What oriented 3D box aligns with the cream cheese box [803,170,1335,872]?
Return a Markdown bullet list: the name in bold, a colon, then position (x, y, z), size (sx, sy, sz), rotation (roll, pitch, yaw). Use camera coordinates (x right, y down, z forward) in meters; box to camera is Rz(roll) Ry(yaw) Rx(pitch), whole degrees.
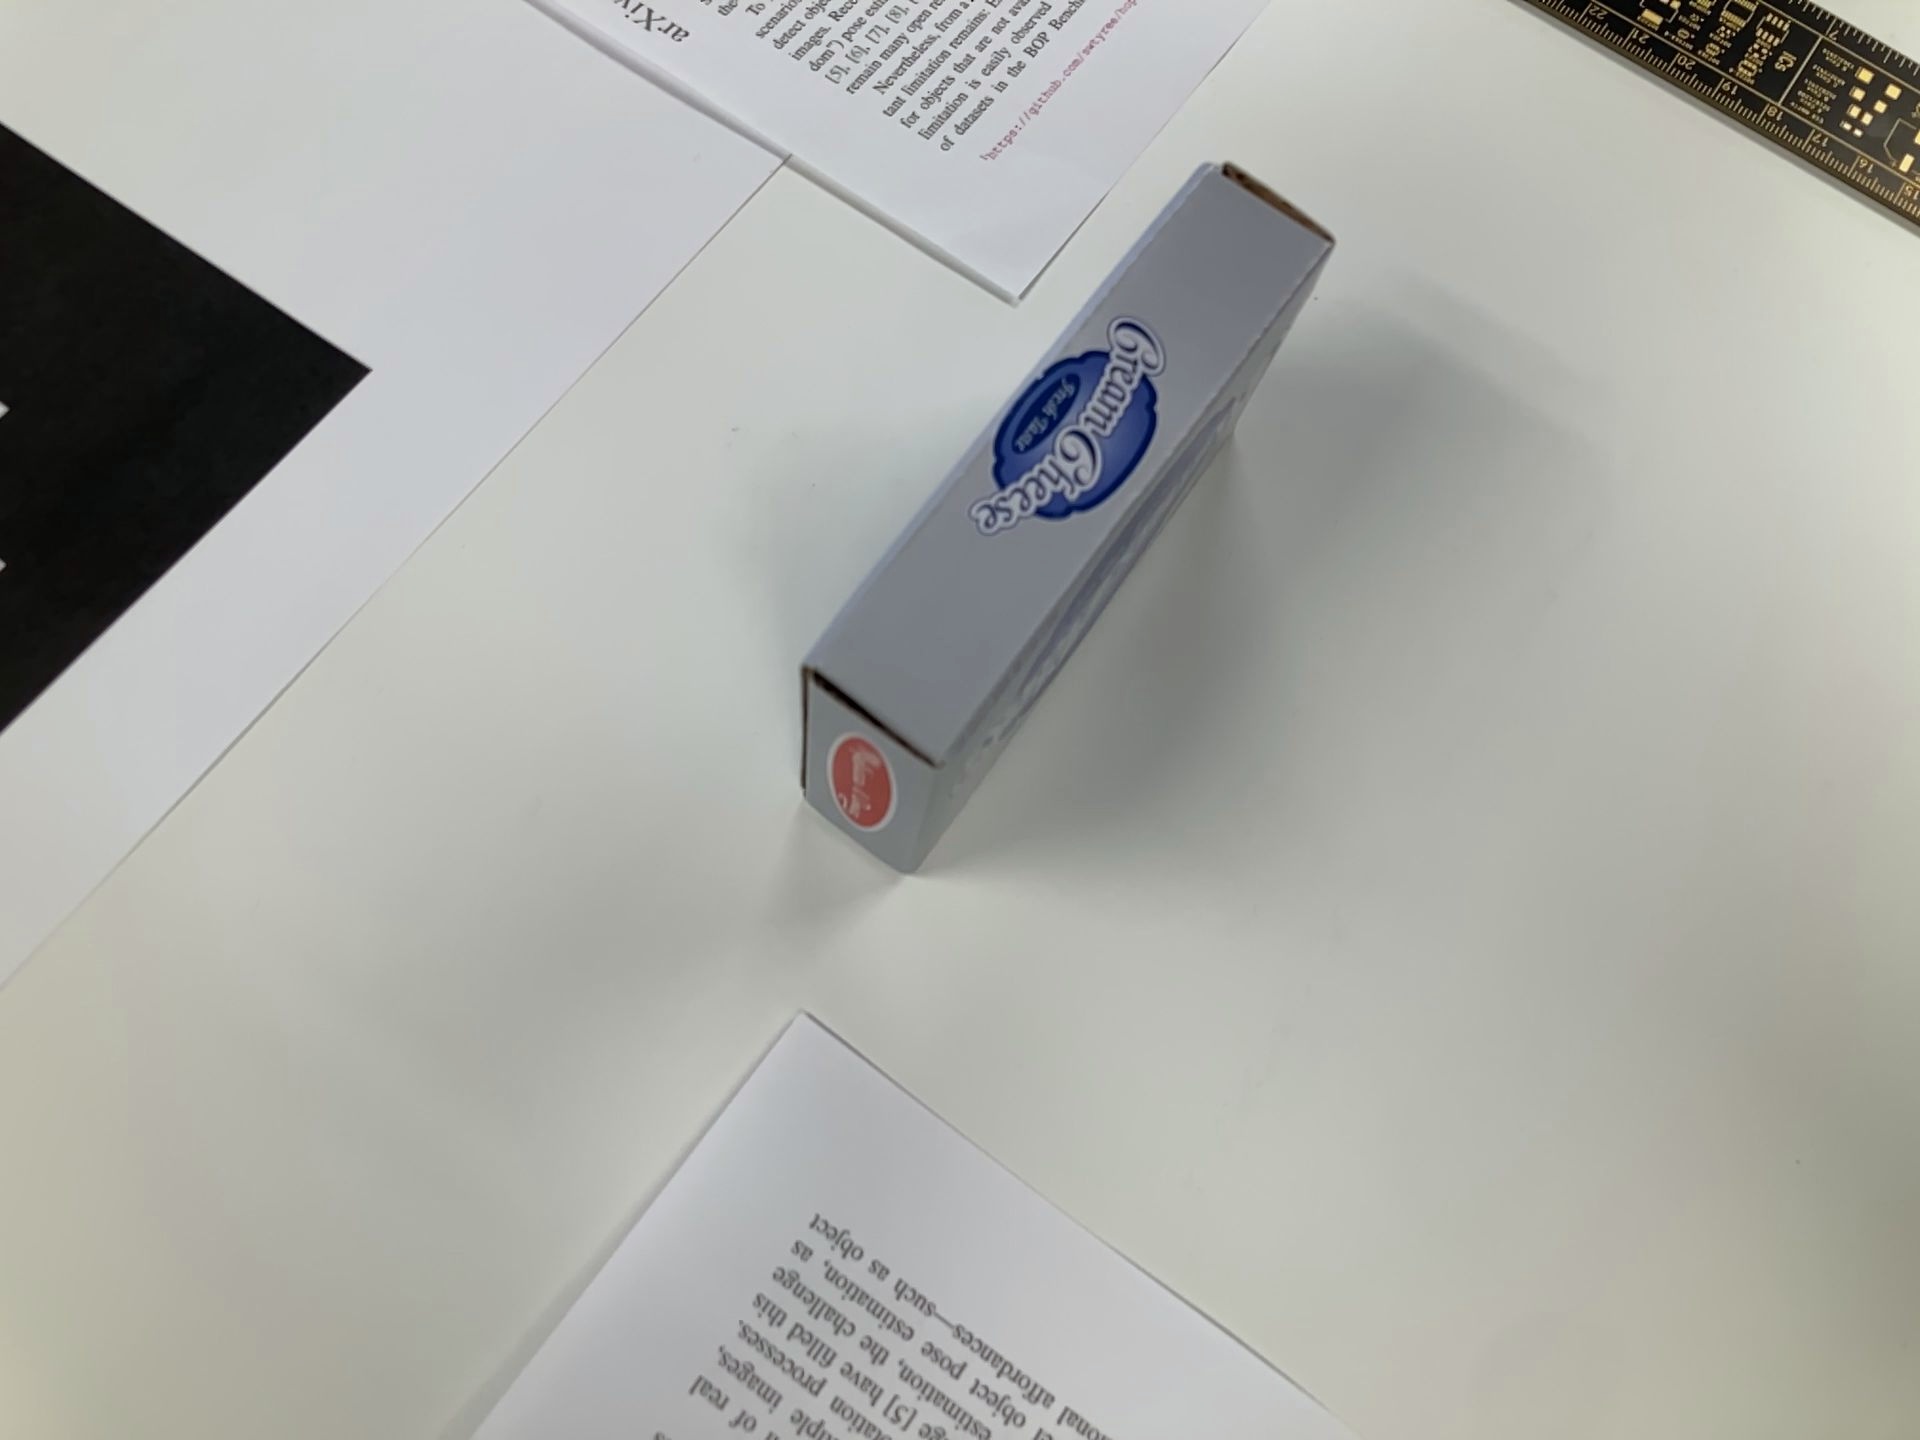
- **cream cheese box**: position (0.014, -0.030, 0.240), size (0.024, 0.053, 0.104), rotation (35, 69, 6)
